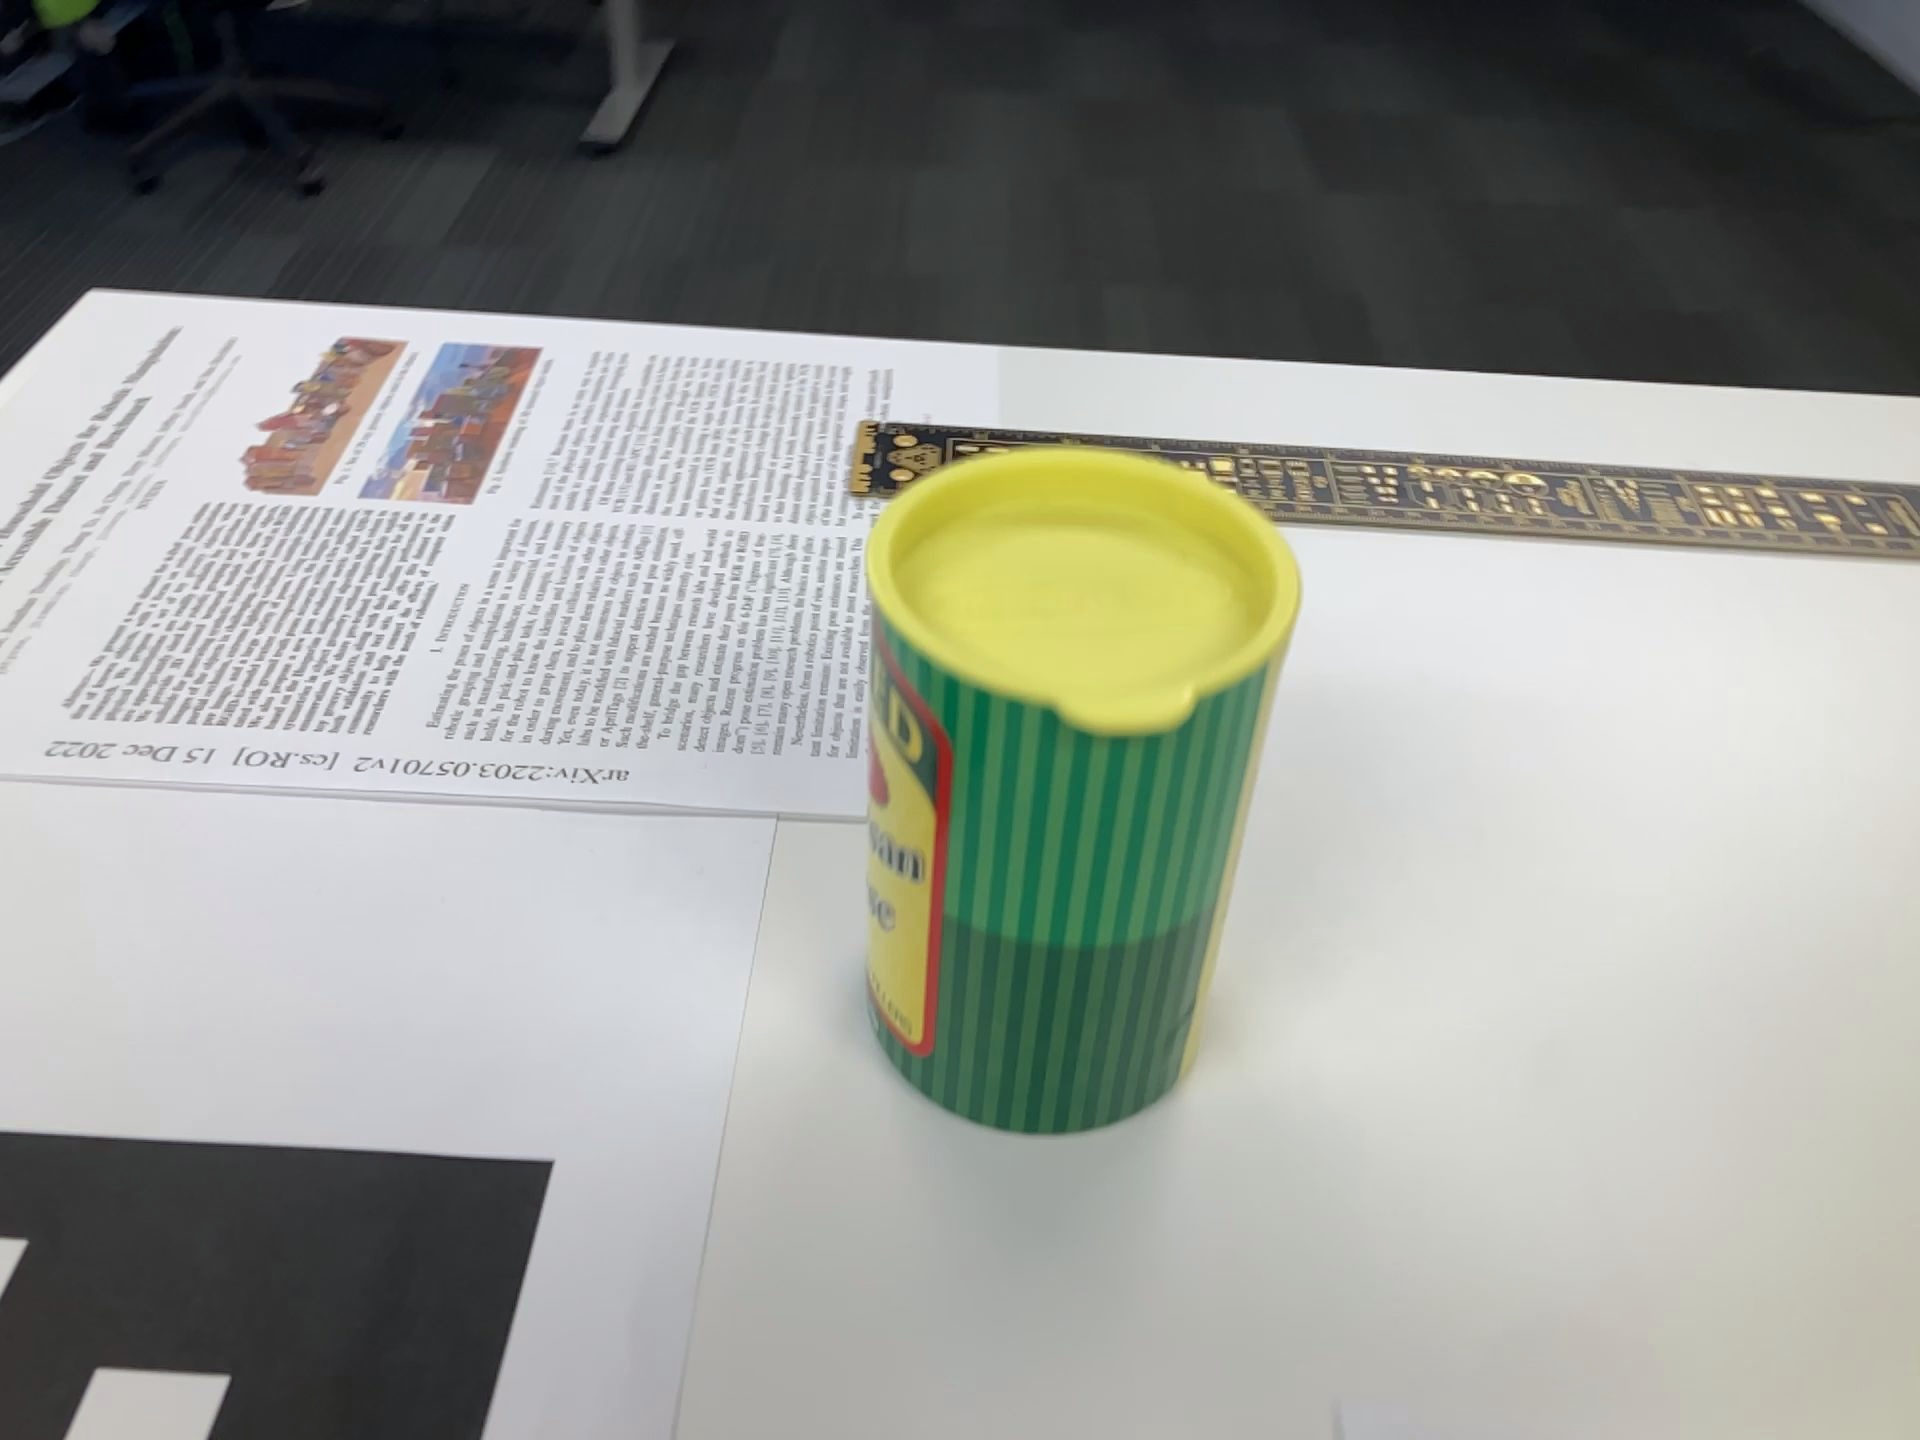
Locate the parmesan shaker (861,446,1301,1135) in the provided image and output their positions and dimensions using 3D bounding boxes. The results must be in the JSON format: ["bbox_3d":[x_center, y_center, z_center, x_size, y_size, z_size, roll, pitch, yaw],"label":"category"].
[{"bbox_3d":[0.016,0.016,0.270,0.071,0.103,0.071,2,40,-2],"label":"parmesan shaker"}]
